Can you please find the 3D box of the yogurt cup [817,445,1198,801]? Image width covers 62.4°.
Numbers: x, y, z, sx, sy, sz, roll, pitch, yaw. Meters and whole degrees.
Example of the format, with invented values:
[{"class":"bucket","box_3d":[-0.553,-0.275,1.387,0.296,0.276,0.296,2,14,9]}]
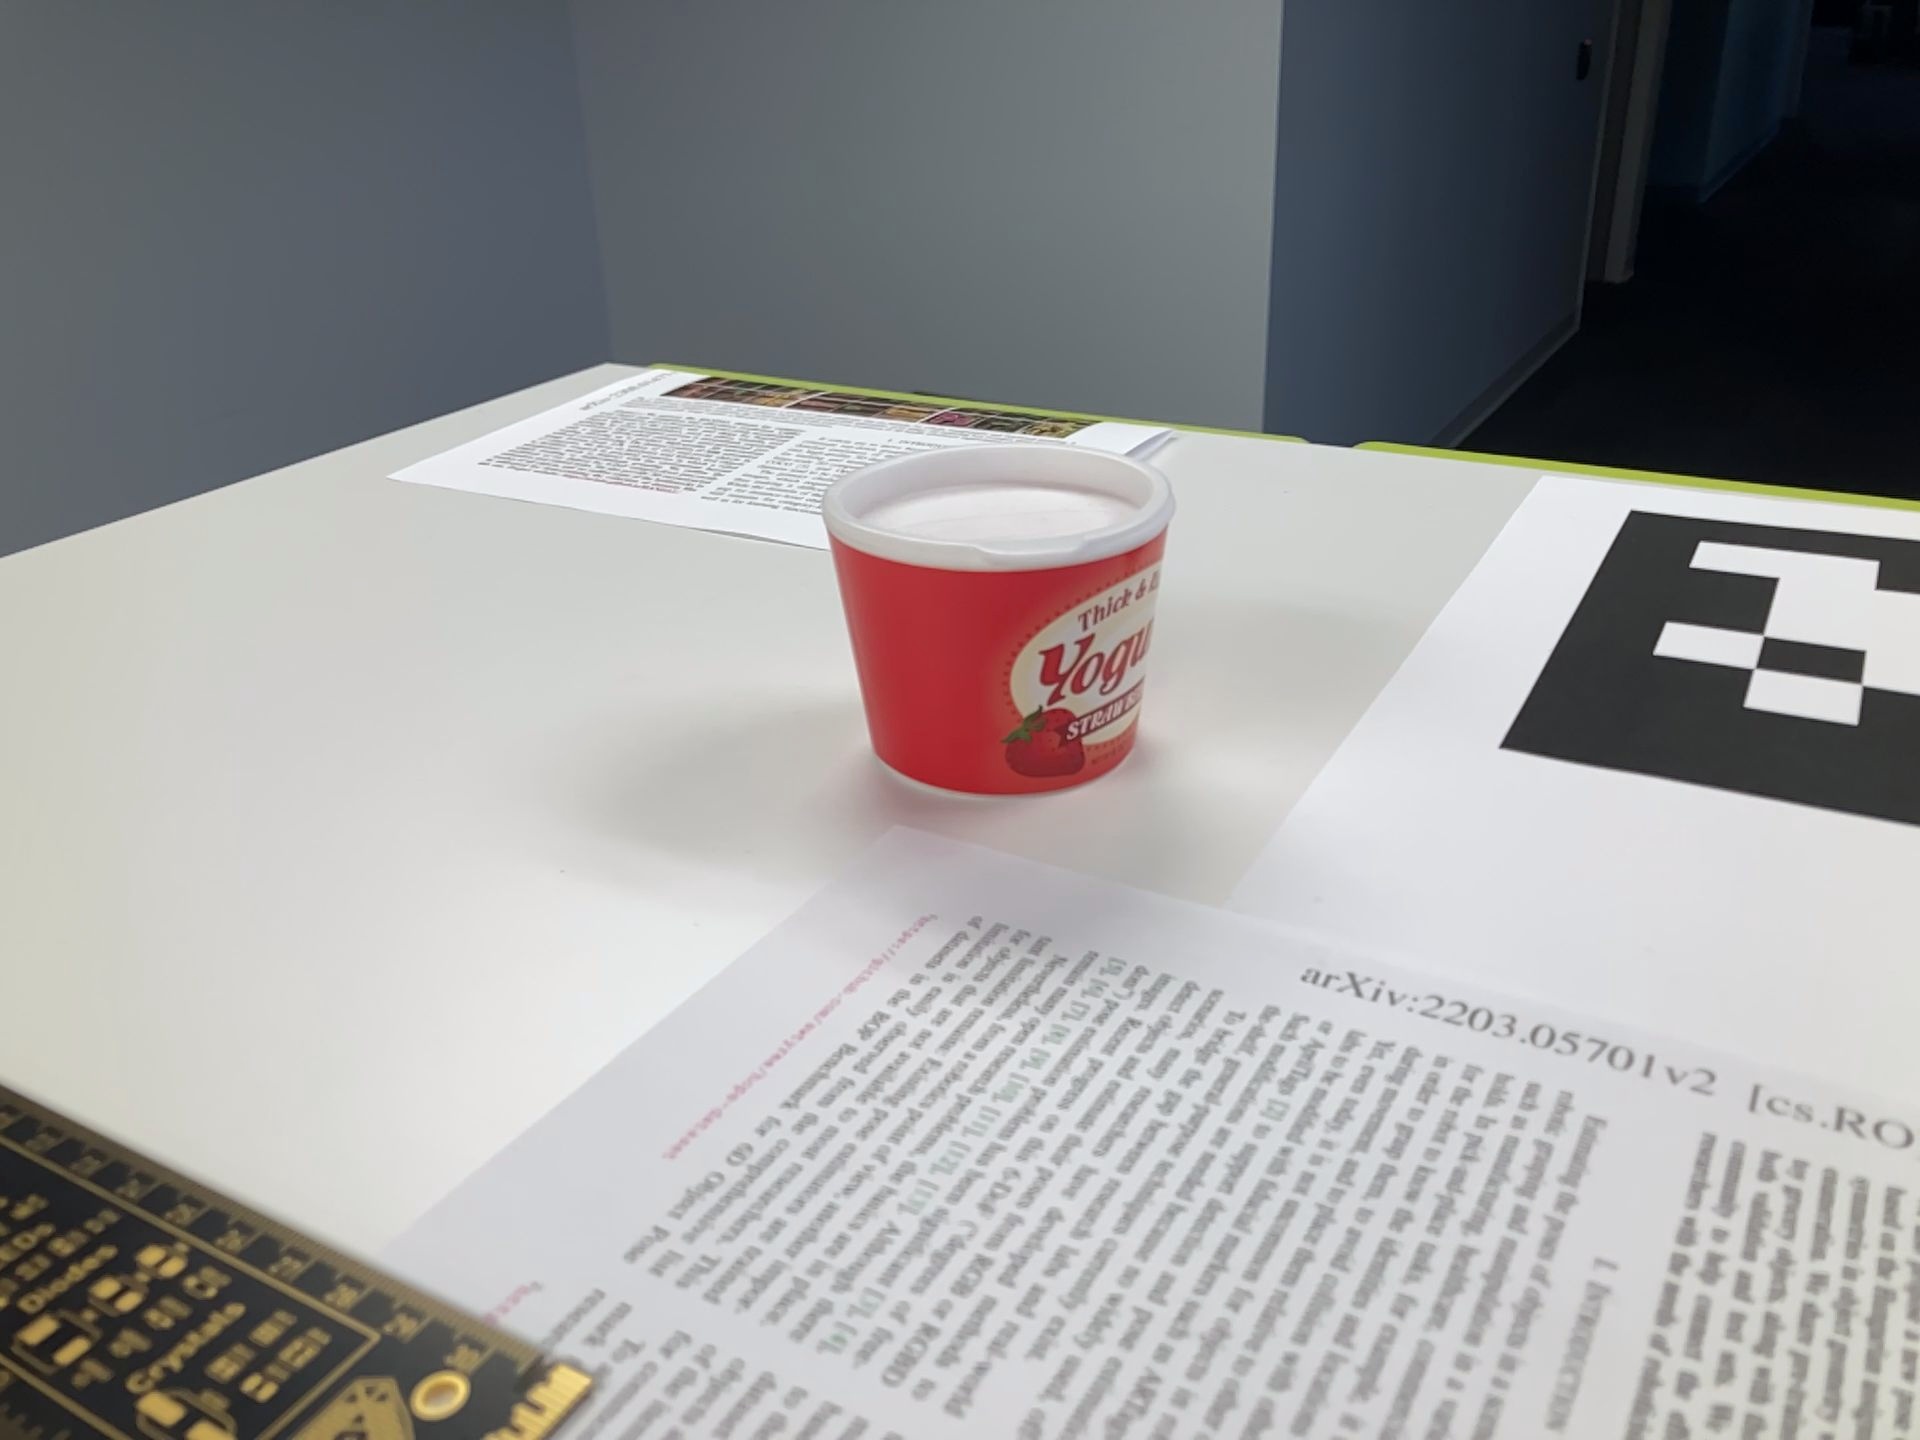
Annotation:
[{"class":"yogurt cup","box_3d":[0.008,-0.020,0.310,0.072,0.054,0.072,-2,24,1]}]
